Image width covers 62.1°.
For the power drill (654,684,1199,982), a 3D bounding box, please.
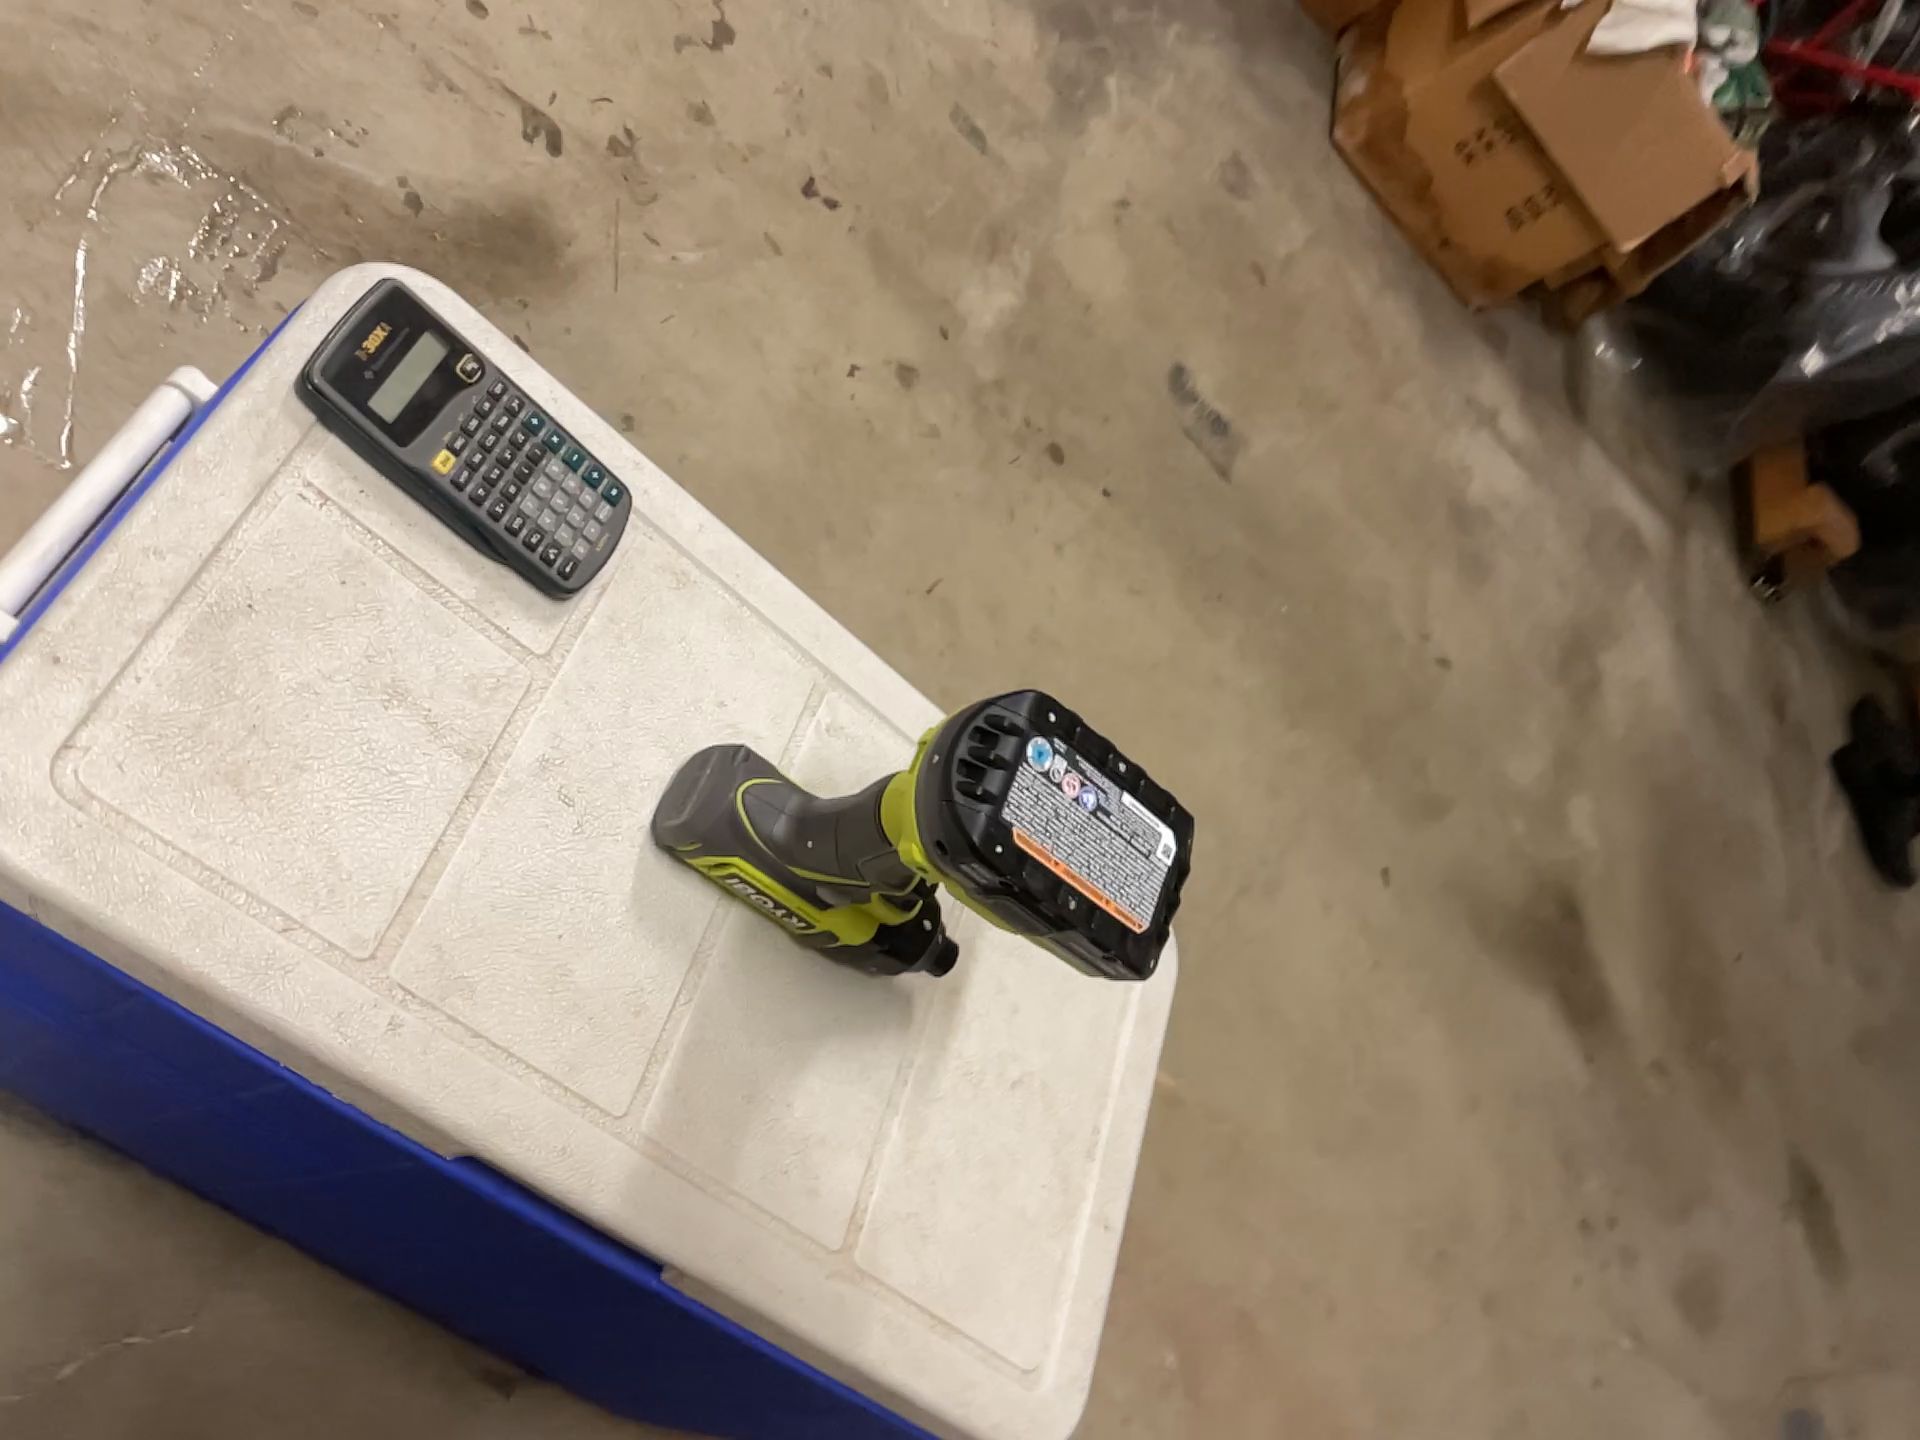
[{"bbox_3d":[-0.012,0.063,0.703,0.171,0.223,0.080,39,59,-28],"label":"power drill"}]
